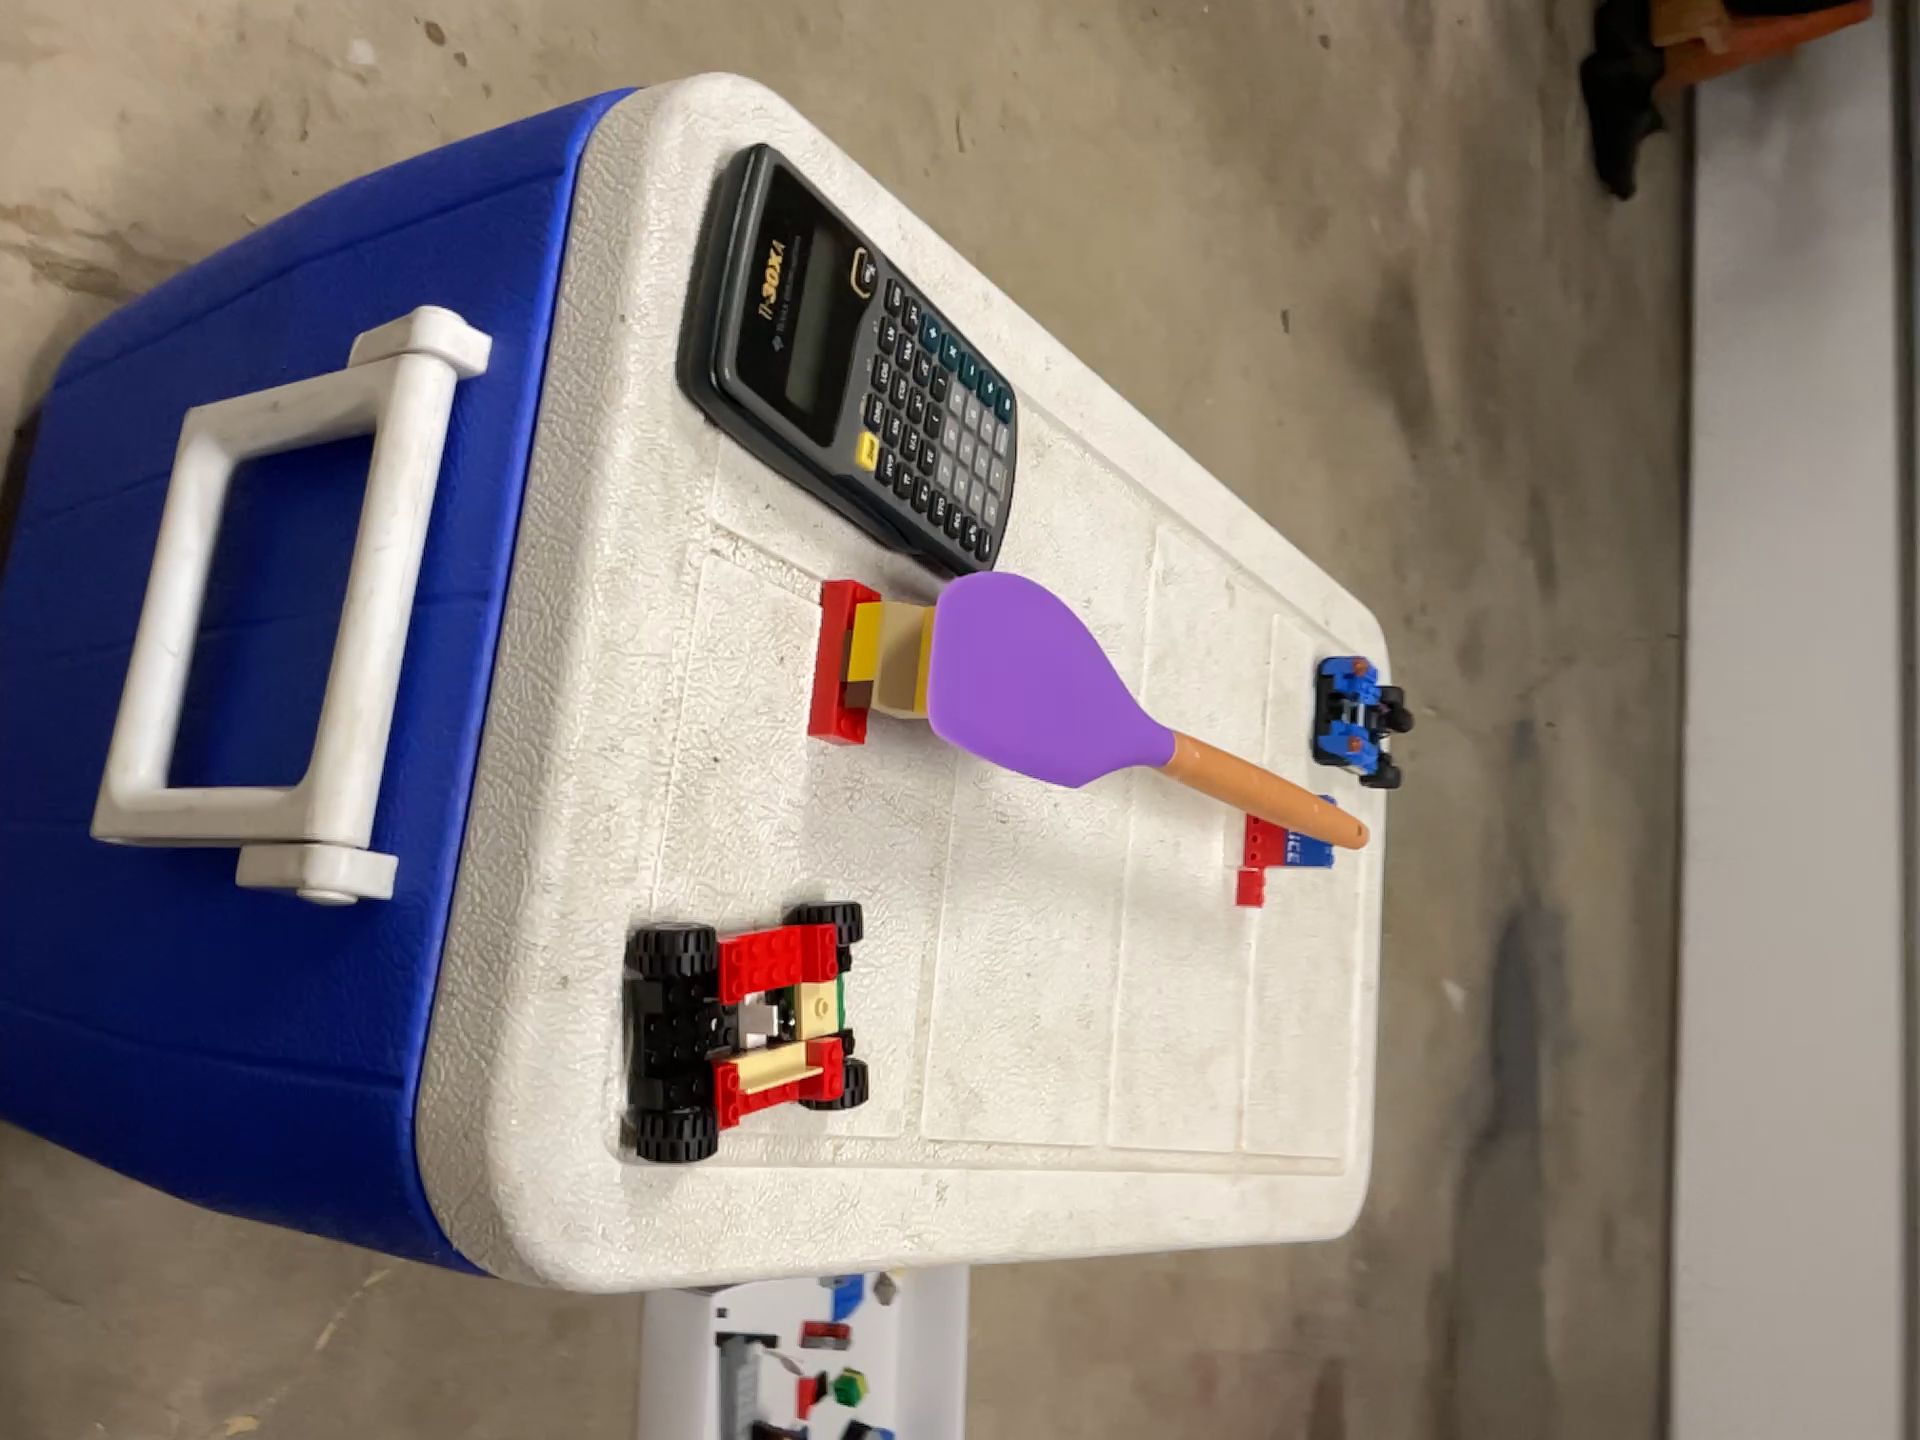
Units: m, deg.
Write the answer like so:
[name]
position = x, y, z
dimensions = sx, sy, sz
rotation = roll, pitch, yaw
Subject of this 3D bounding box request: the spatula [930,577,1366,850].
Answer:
[spatula]
position = 0.083, 0.013, 0.571
dimensions = 0.316, 0.018, 0.060
rotation = 22, 70, -52
